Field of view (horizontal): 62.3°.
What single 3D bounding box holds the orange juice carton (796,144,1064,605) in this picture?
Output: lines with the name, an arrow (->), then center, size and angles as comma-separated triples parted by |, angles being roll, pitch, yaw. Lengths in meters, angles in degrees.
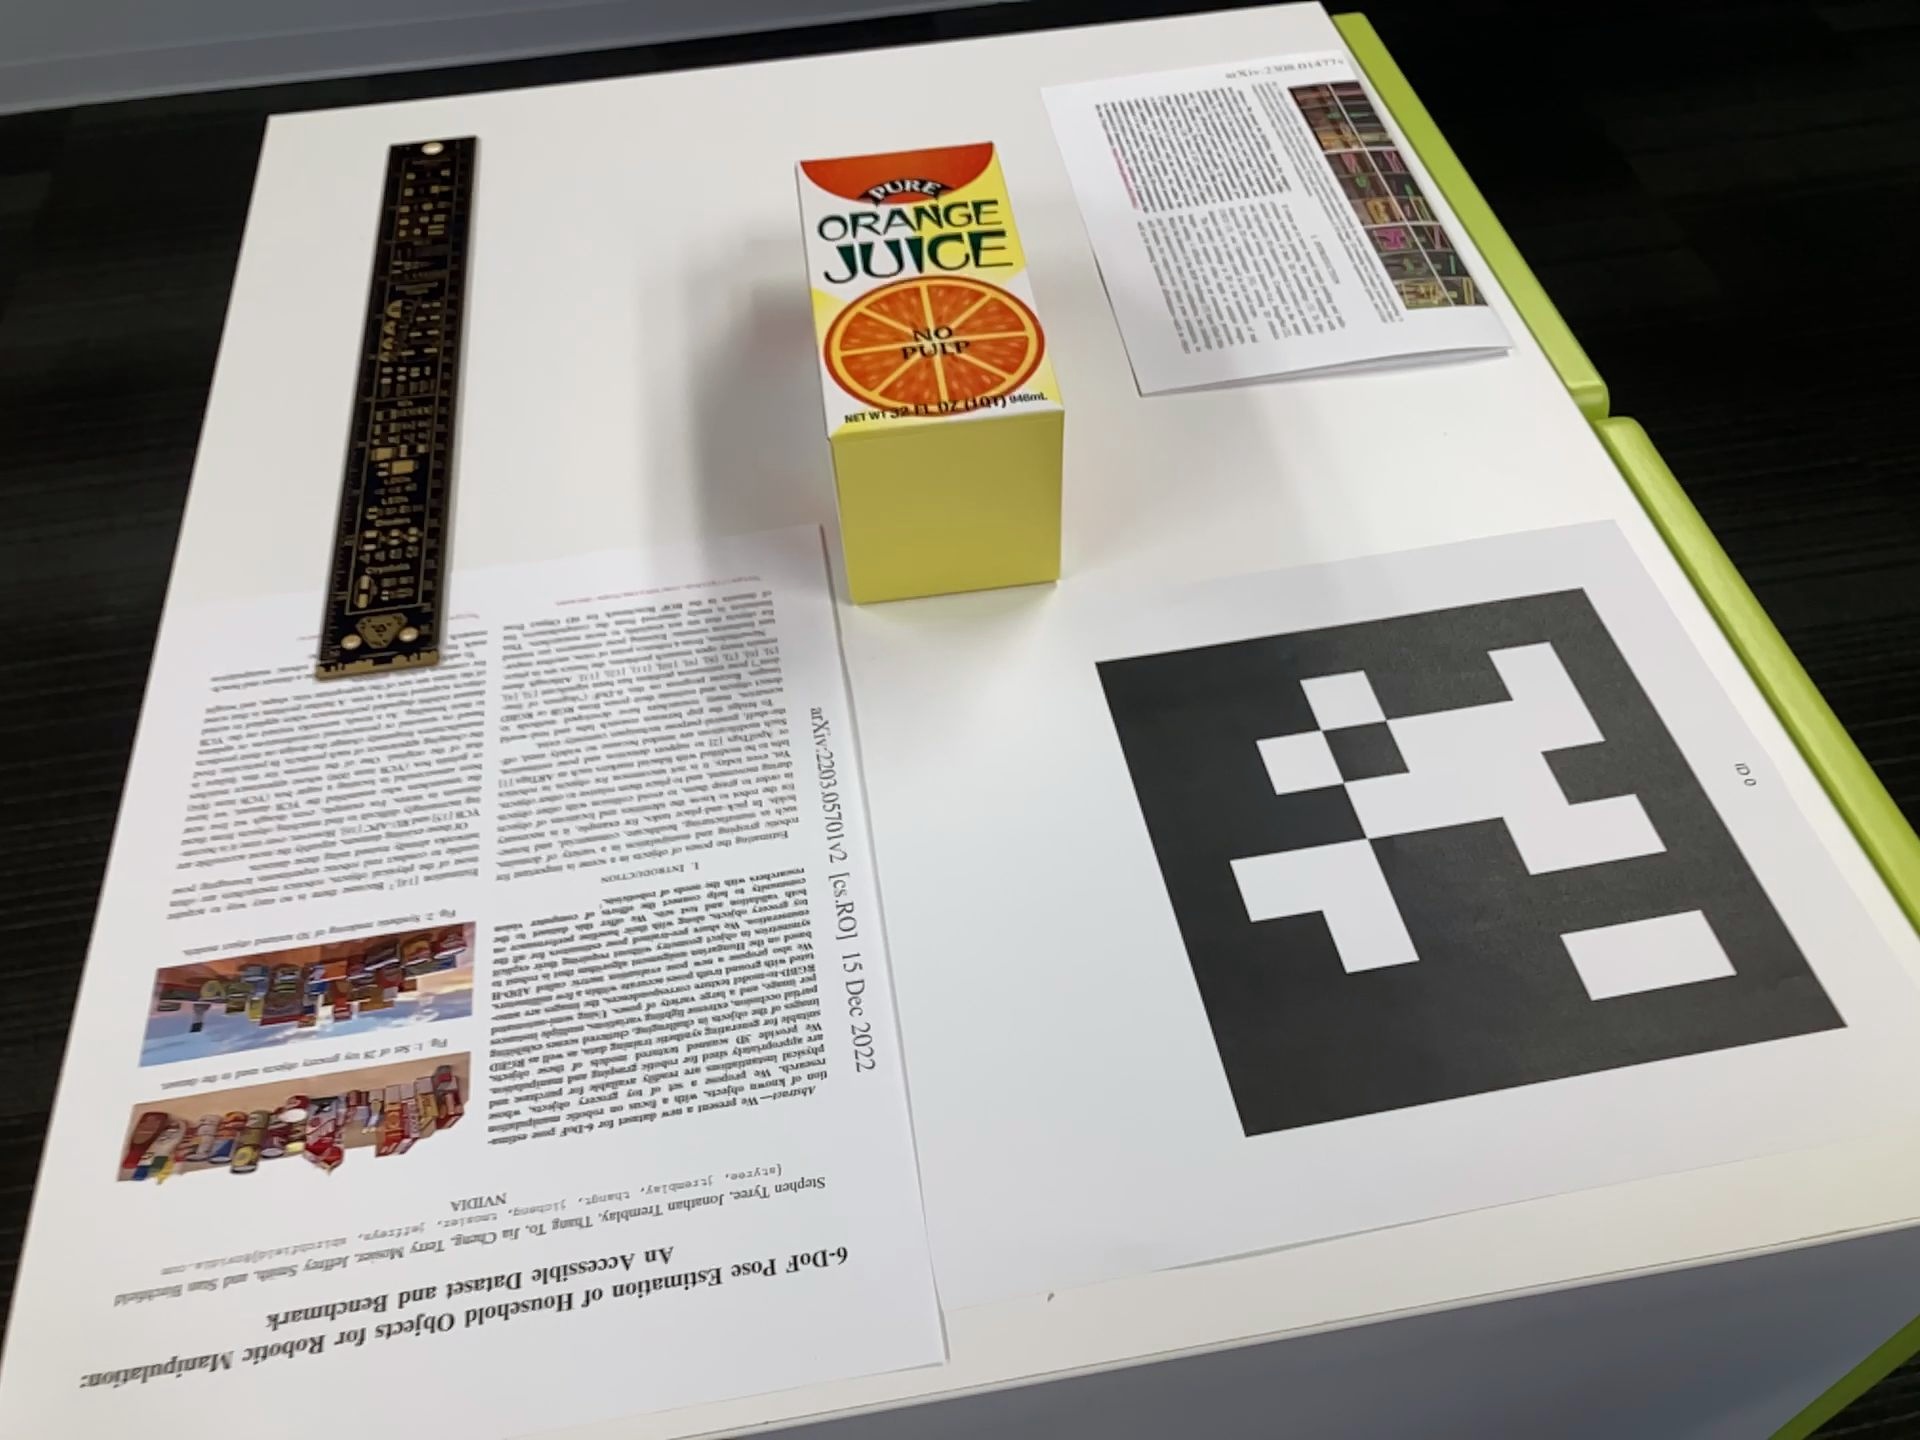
orange juice carton -> -0.015, -0.137, 0.555 | 0.072, 0.073, 0.192 | -7, 51, -3
